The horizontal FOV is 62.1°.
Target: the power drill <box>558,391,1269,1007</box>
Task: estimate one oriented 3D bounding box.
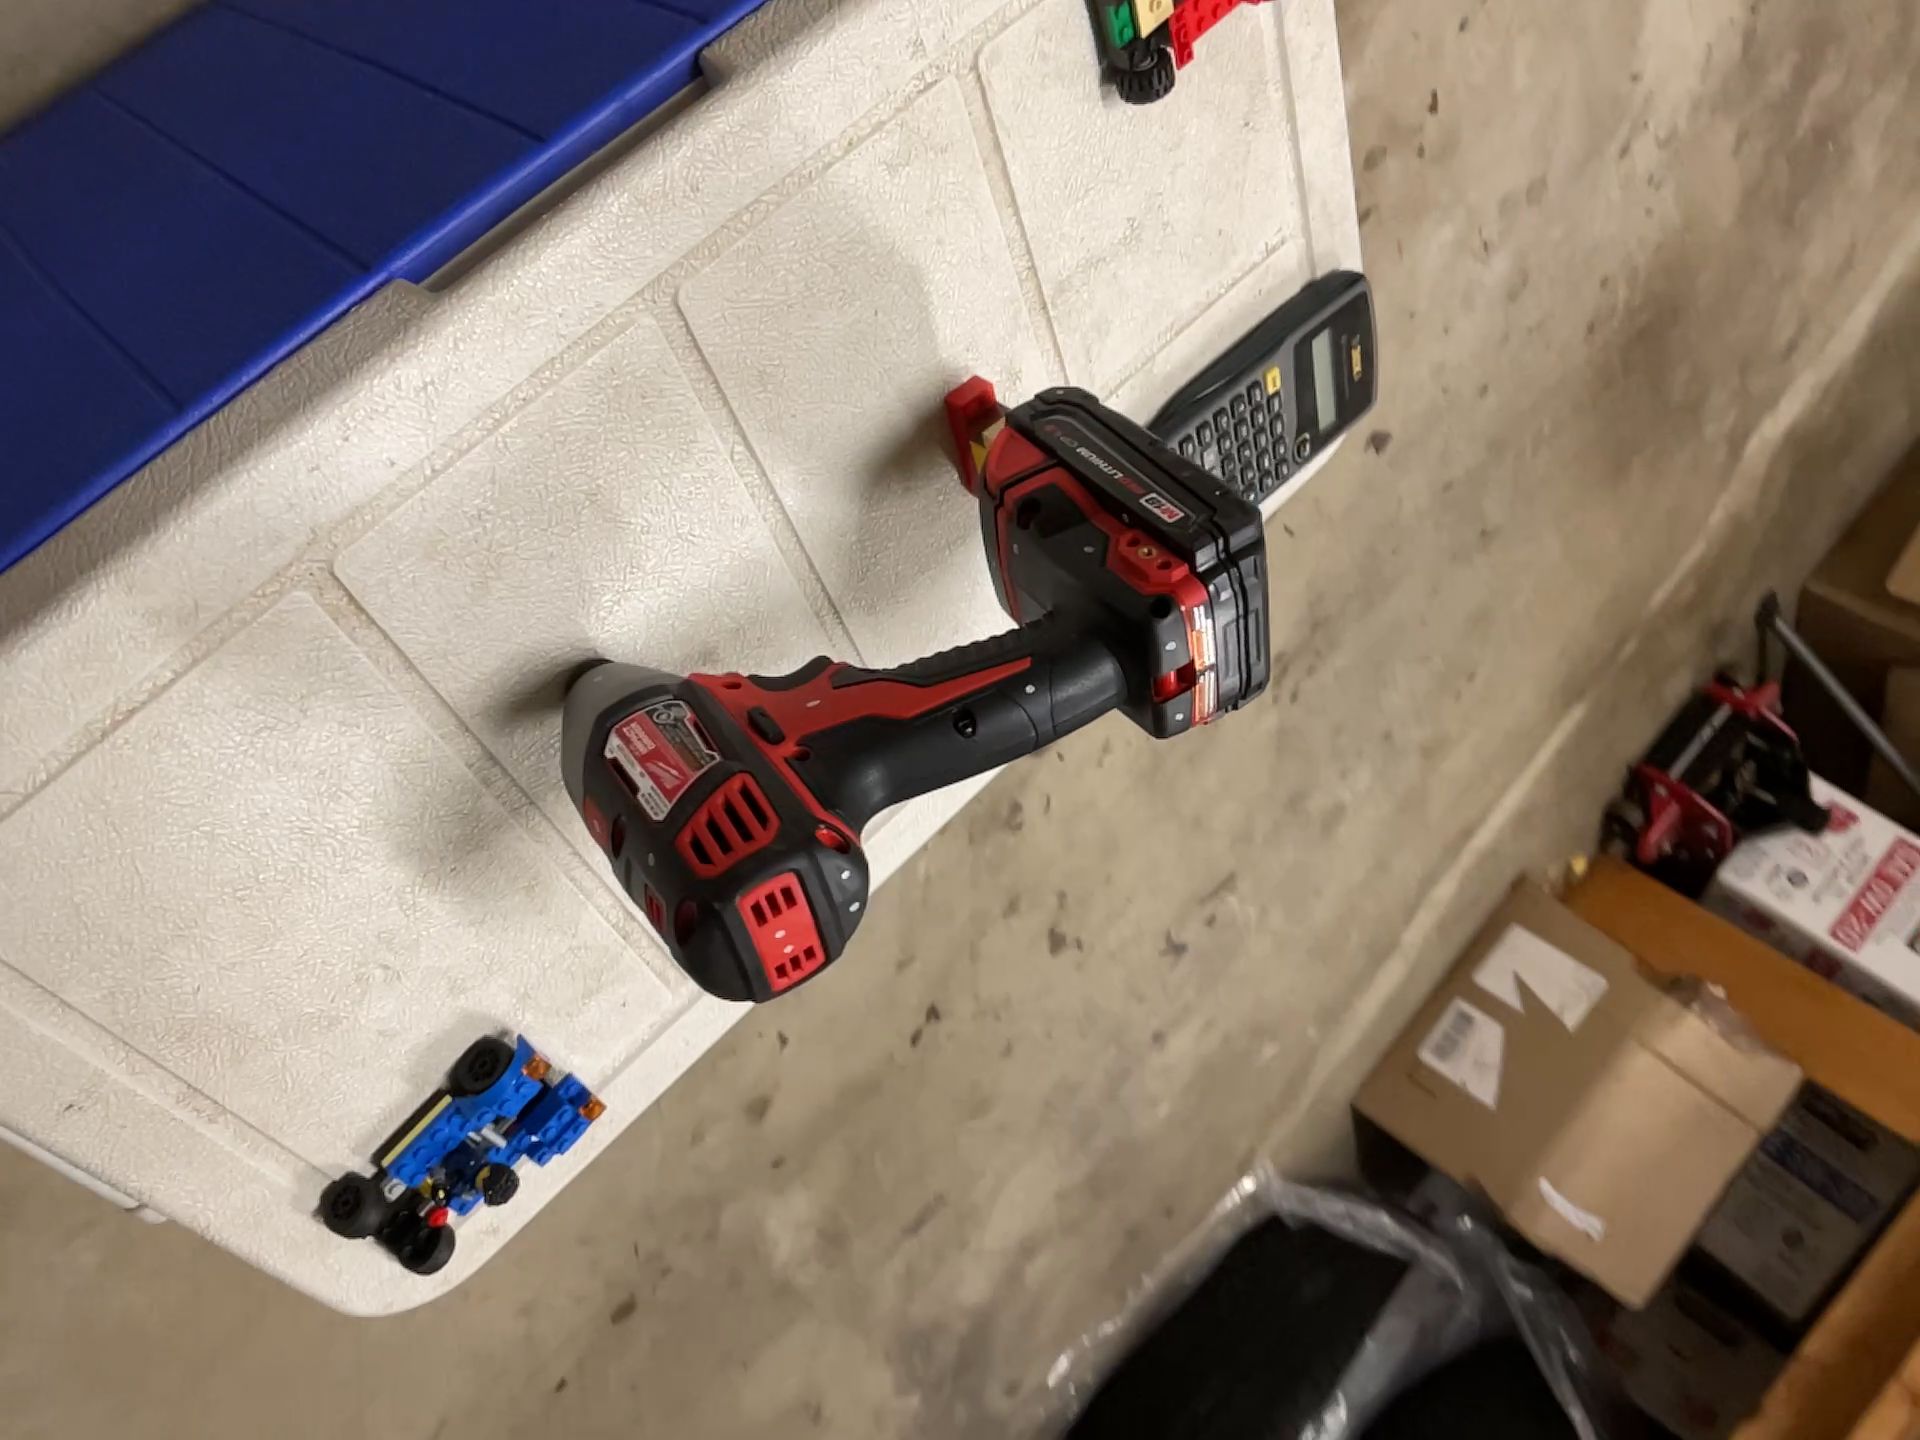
[{"bbox_3d":[-0.021,-0.015,0.514,0.220,0.143,0.078,-31,136,-18],"label":"power drill"}]
